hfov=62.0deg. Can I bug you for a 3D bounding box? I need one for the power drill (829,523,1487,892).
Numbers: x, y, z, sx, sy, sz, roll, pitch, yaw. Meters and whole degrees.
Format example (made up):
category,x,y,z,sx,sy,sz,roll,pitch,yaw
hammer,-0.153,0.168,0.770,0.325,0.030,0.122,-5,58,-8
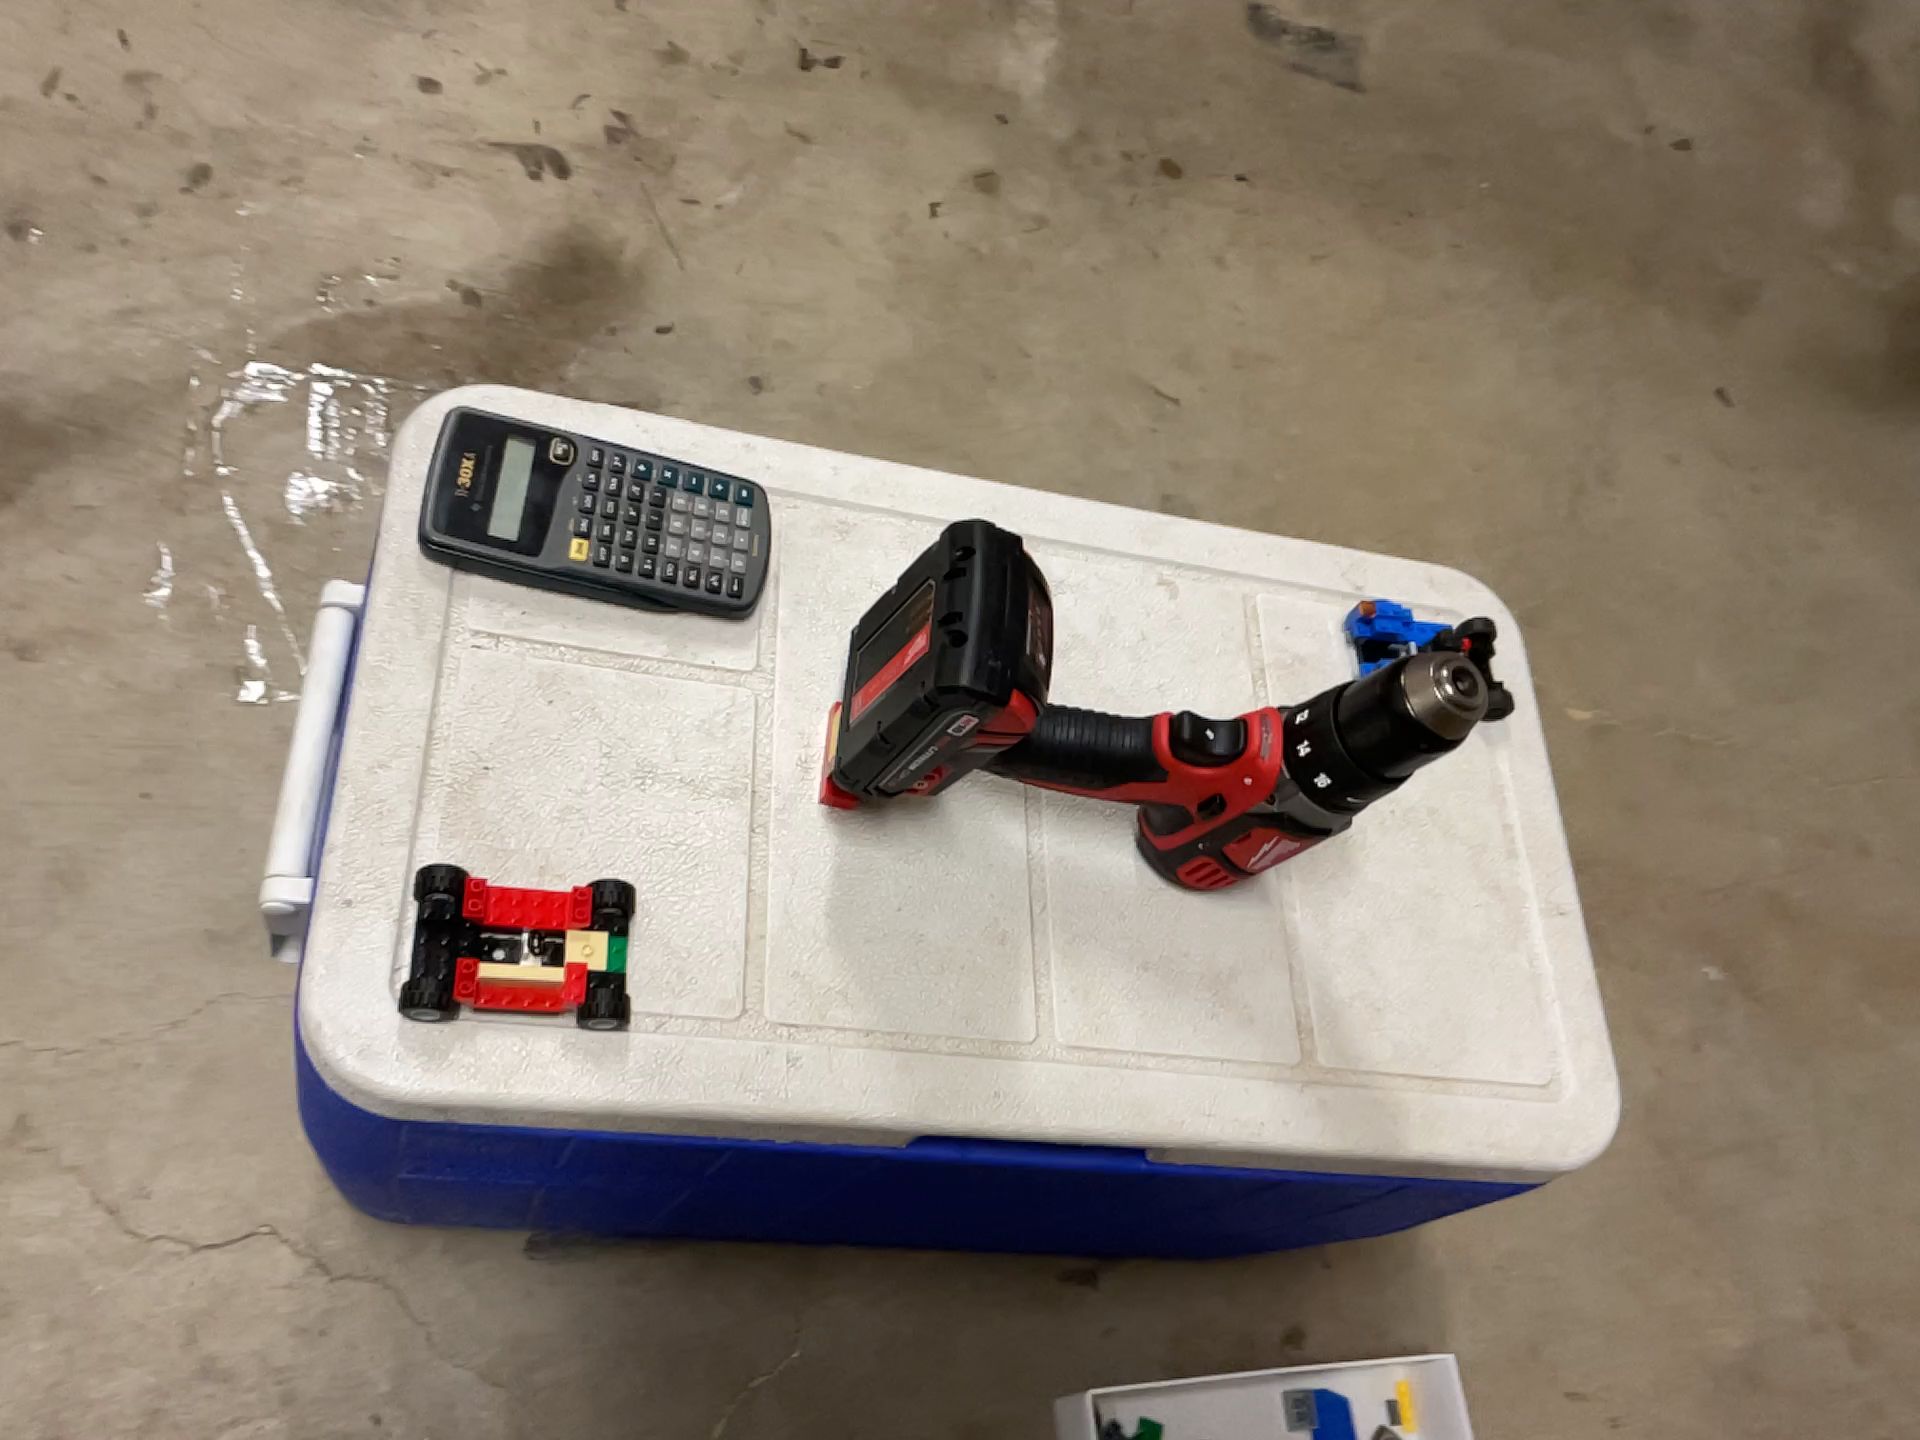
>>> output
category,x,y,z,sx,sy,sz,roll,pitch,yaw
power drill,0.080,-0.001,0.661,0.226,0.187,0.080,19,59,-23
